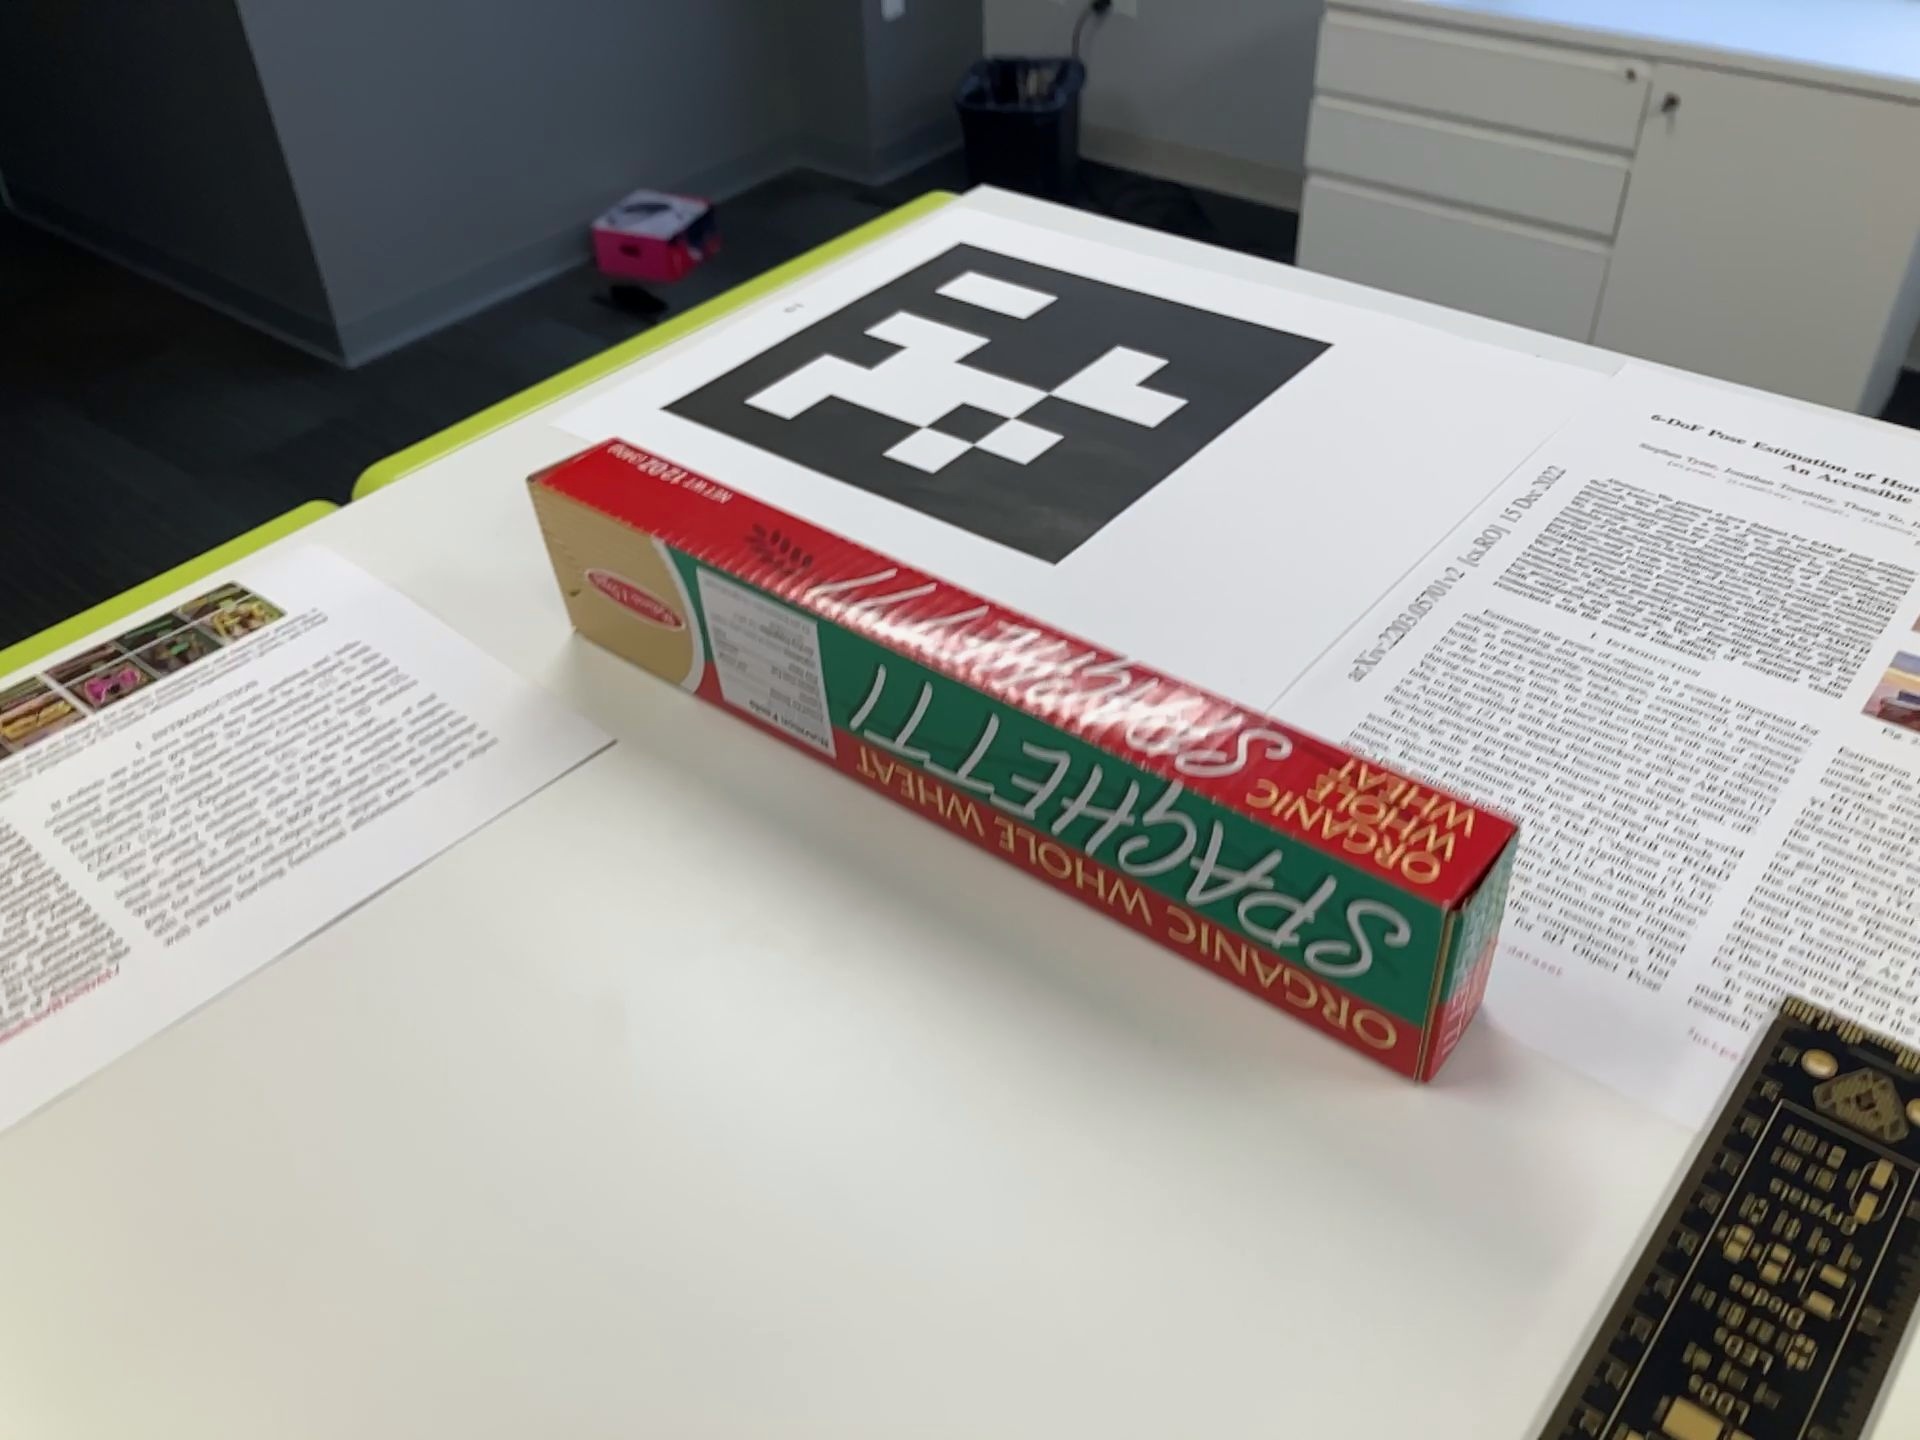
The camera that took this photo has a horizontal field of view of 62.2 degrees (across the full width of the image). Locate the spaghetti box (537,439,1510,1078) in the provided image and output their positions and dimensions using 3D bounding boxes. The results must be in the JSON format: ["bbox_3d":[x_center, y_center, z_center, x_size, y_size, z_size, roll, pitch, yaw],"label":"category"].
[{"bbox_3d":[-0.001,-0.002,0.356,0.250,0.050,0.028,26,49,31],"label":"spaghetti box"}]
